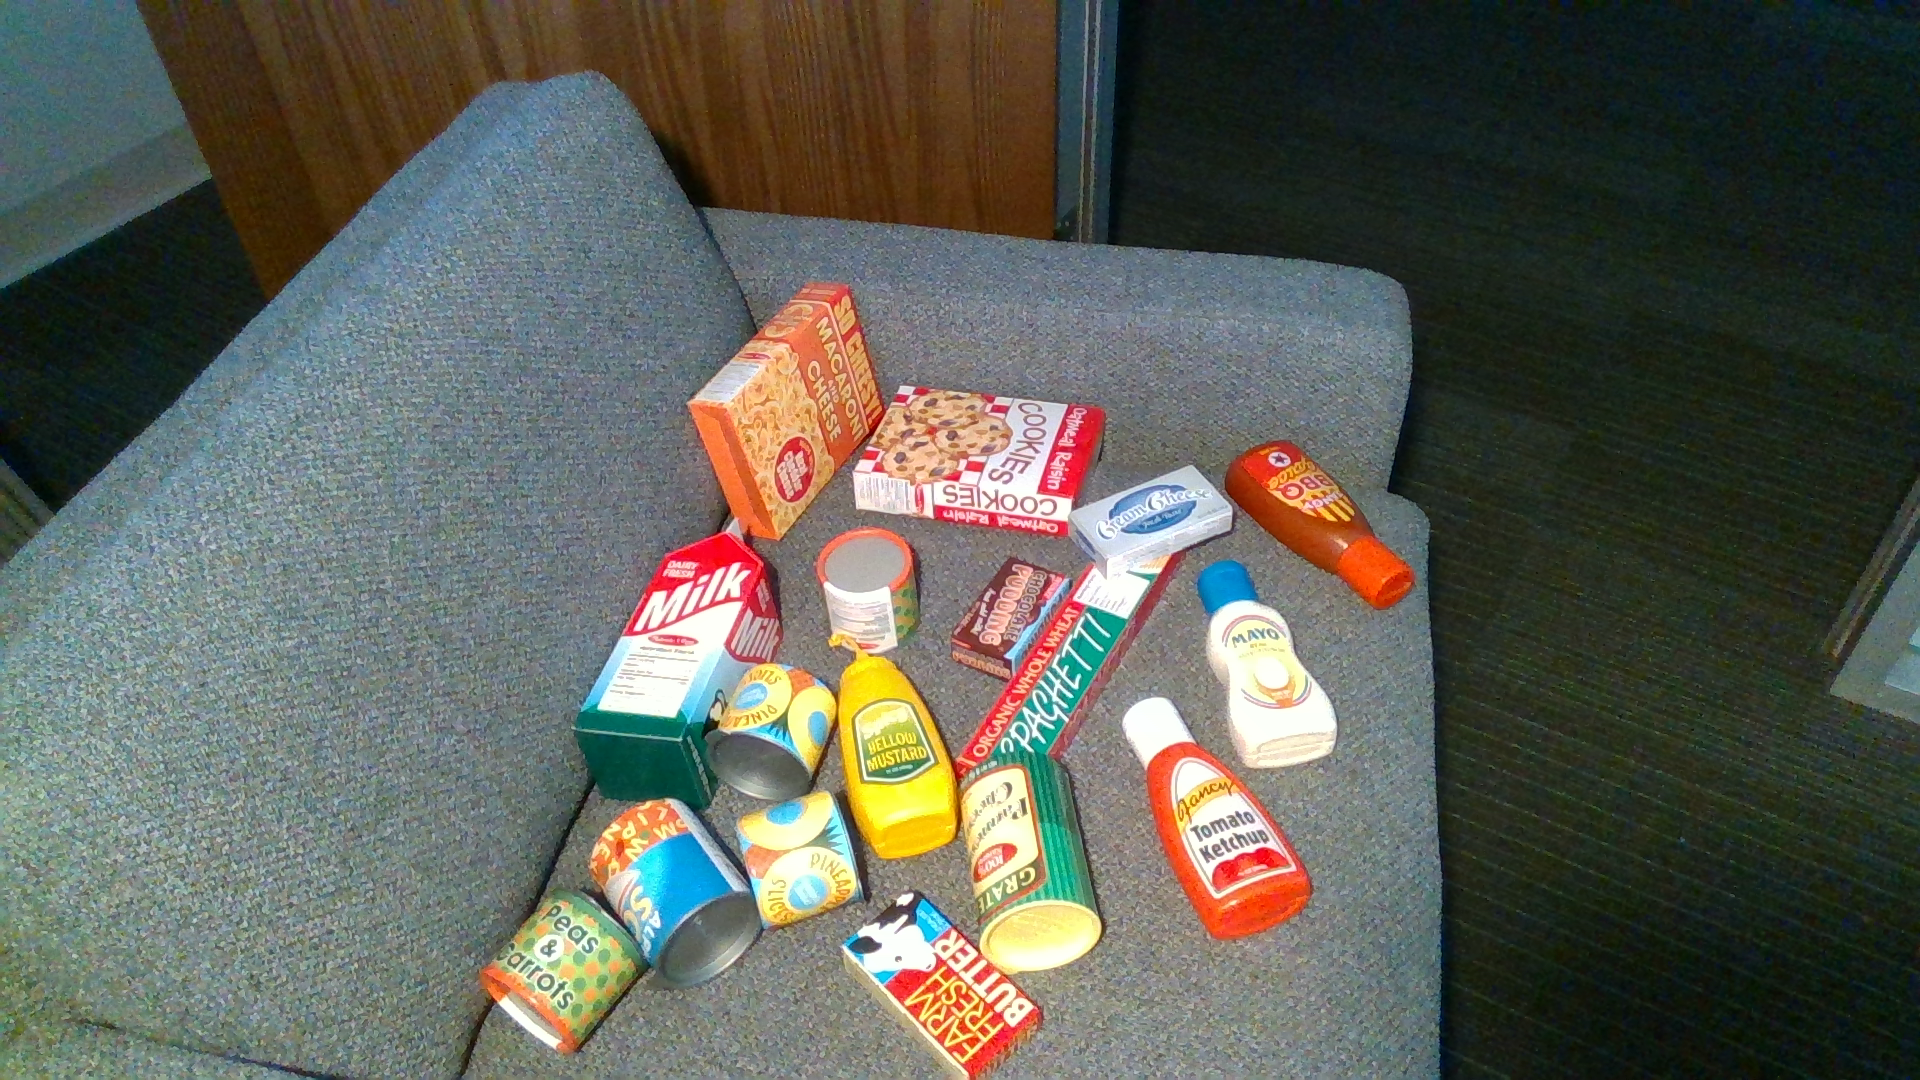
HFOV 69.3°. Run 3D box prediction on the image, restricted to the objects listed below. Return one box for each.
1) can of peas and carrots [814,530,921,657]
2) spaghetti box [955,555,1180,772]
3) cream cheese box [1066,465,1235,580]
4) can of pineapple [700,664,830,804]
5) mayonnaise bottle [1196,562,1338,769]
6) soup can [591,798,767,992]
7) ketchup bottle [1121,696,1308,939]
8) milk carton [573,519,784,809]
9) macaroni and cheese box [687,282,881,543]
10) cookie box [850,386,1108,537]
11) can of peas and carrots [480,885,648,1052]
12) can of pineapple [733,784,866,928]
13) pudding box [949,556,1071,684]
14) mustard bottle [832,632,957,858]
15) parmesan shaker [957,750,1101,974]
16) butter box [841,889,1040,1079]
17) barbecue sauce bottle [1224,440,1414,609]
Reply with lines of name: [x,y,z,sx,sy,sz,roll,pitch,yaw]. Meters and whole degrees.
can of peas and carrots: [-0.062,0.033,0.937,0.071,0.058,0.071,-3,42,3]
spaghetti box: [0.078,0.069,0.904,0.050,0.028,0.251,19,47,23]
cream cheese box: [0.130,-0.013,0.947,0.104,0.024,0.053,-21,44,-18]
can of pineapple: [-0.118,0.116,0.848,0.071,0.070,0.058,5,40,10]
mayonnaise bottle: [0.188,0.076,0.887,0.065,0.041,0.149,-10,43,-3]
soup can: [-0.159,0.195,0.767,0.071,0.071,0.084,-29,49,-24]
ketchup bottle: [0.139,0.156,0.806,0.065,0.043,0.149,-15,44,-12]
milk carton: [-0.170,0.074,0.901,0.073,0.072,0.192,4,44,14]
macaroni and cheese box: [-0.124,-0.098,1.041,0.040,0.123,0.167,8,44,28]
cookie box: [0.017,-0.062,1.041,0.167,0.040,0.123,8,38,13]
can of peas and carrots: [-0.211,0.227,0.738,0.071,0.070,0.059,22,52,26]
can of pineapple: [-0.090,0.178,0.780,0.058,0.070,0.071,-16,44,-12]
pudding box: [0.035,0.053,0.926,0.050,0.030,0.084,20,50,25]
mustard bottle: [-0.049,0.116,0.858,0.065,0.048,0.161,-14,49,-12]
parmesan shaker: [0.034,0.179,0.778,0.071,0.071,0.103,-8,43,-3]
butter box: [-0.011,0.239,0.742,0.053,0.024,0.104,-35,51,-26]
barbecue sauce bottle: [0.254,-0.011,0.977,0.065,0.043,0.149,-19,47,-23]
